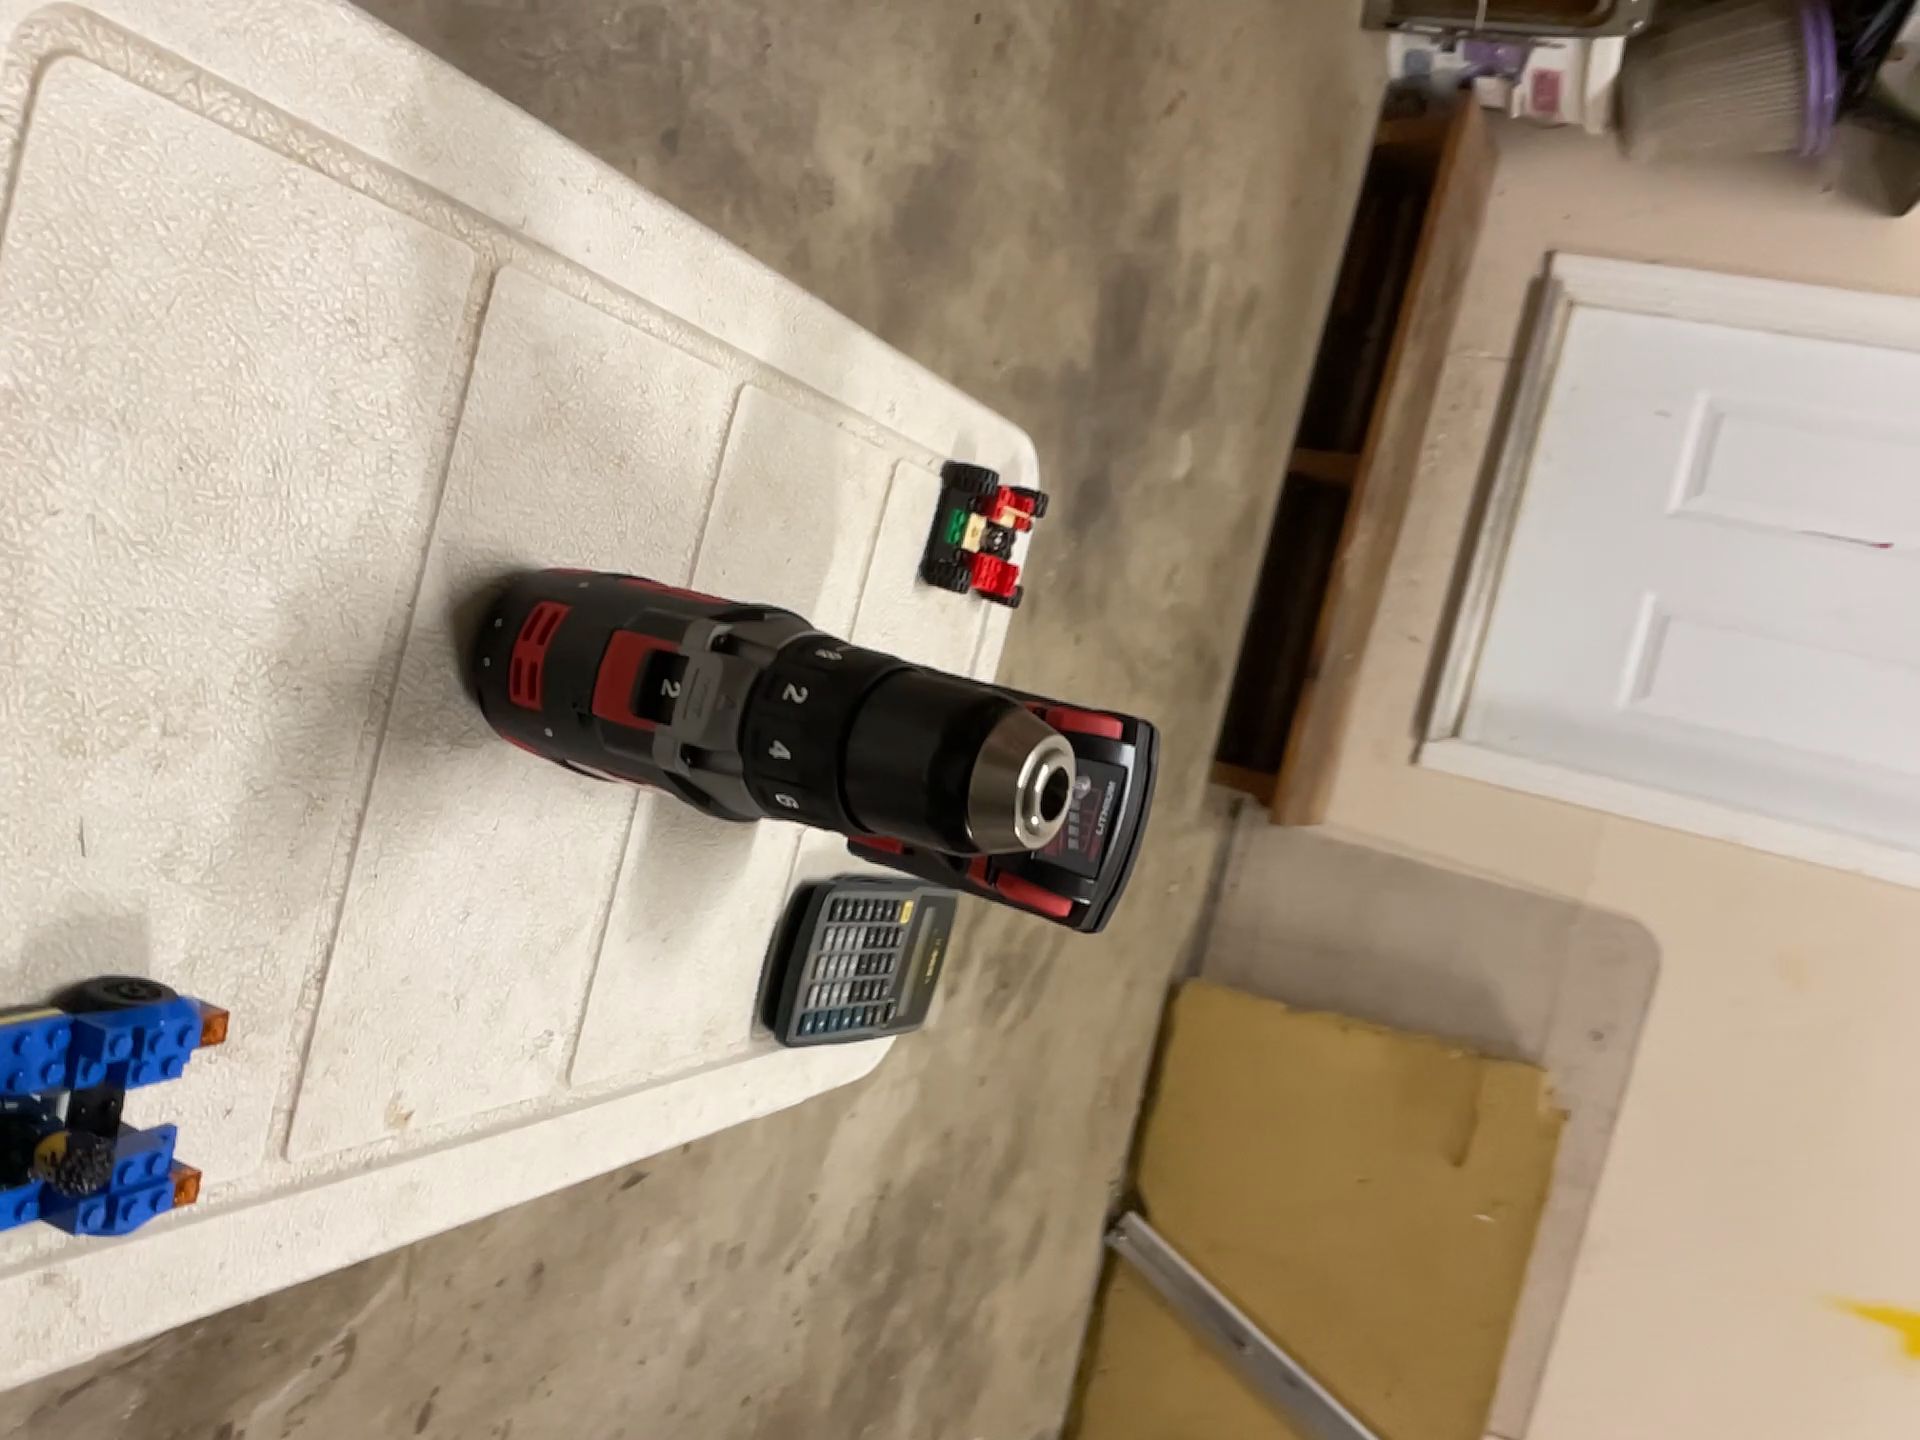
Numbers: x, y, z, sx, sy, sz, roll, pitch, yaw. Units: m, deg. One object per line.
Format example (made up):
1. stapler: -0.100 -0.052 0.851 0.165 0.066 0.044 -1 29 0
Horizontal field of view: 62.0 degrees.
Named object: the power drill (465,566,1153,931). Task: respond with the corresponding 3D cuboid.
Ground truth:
1. power drill: -0.016 0.013 0.504 0.226 0.188 0.080 21 84 -58
